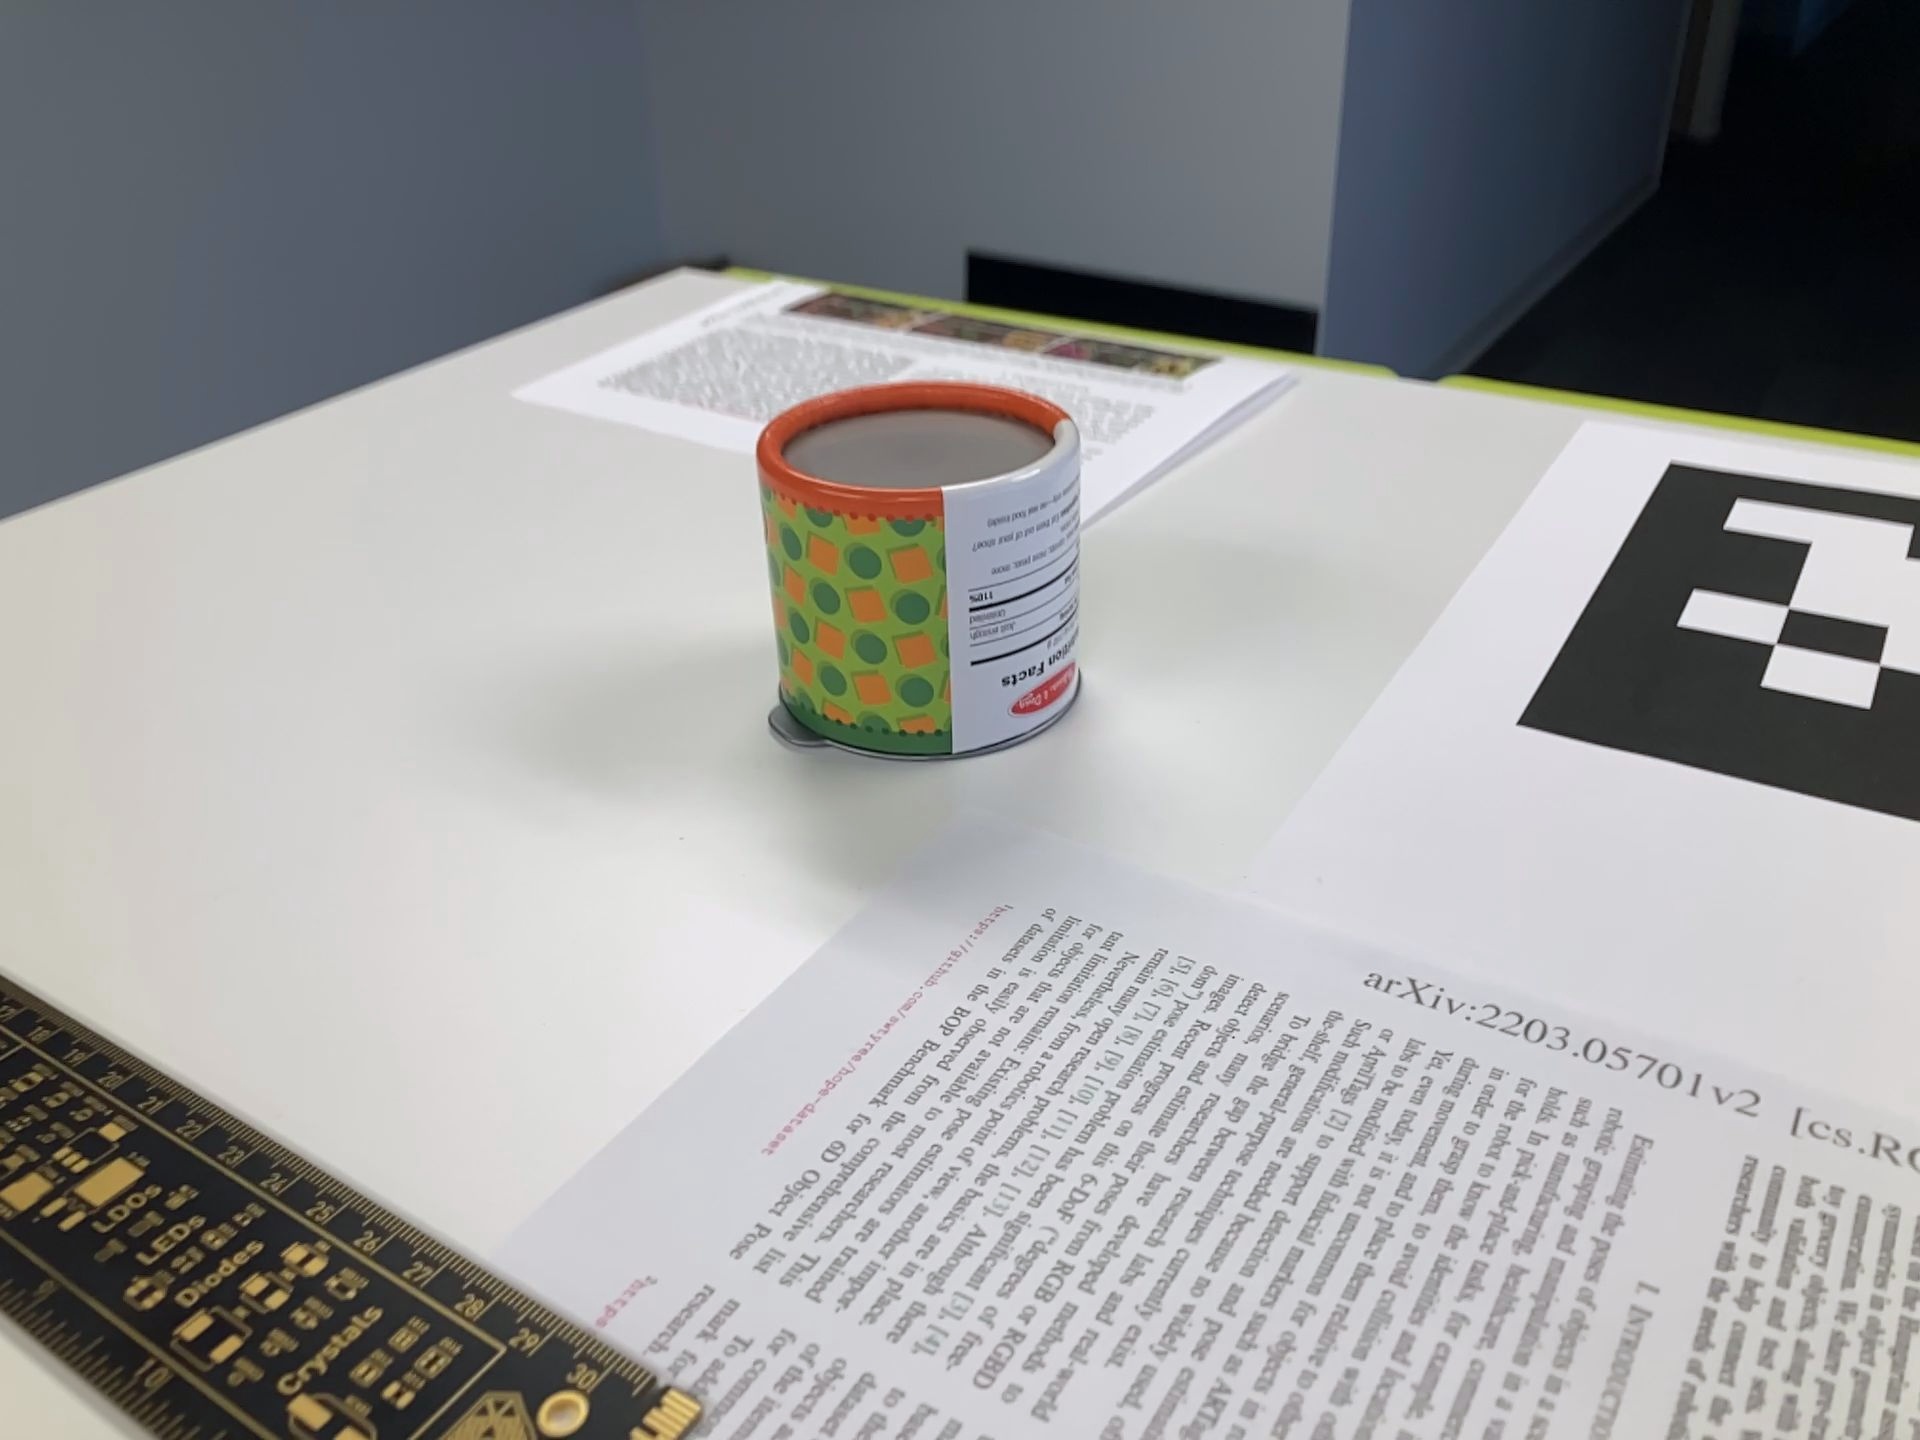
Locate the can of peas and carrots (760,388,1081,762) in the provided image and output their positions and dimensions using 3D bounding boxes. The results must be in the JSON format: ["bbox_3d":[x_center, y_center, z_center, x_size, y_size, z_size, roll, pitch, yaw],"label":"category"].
[{"bbox_3d":[-0.010,-0.034,0.338,0.071,0.059,0.071,-1,30,1],"label":"can of peas and carrots"}]
